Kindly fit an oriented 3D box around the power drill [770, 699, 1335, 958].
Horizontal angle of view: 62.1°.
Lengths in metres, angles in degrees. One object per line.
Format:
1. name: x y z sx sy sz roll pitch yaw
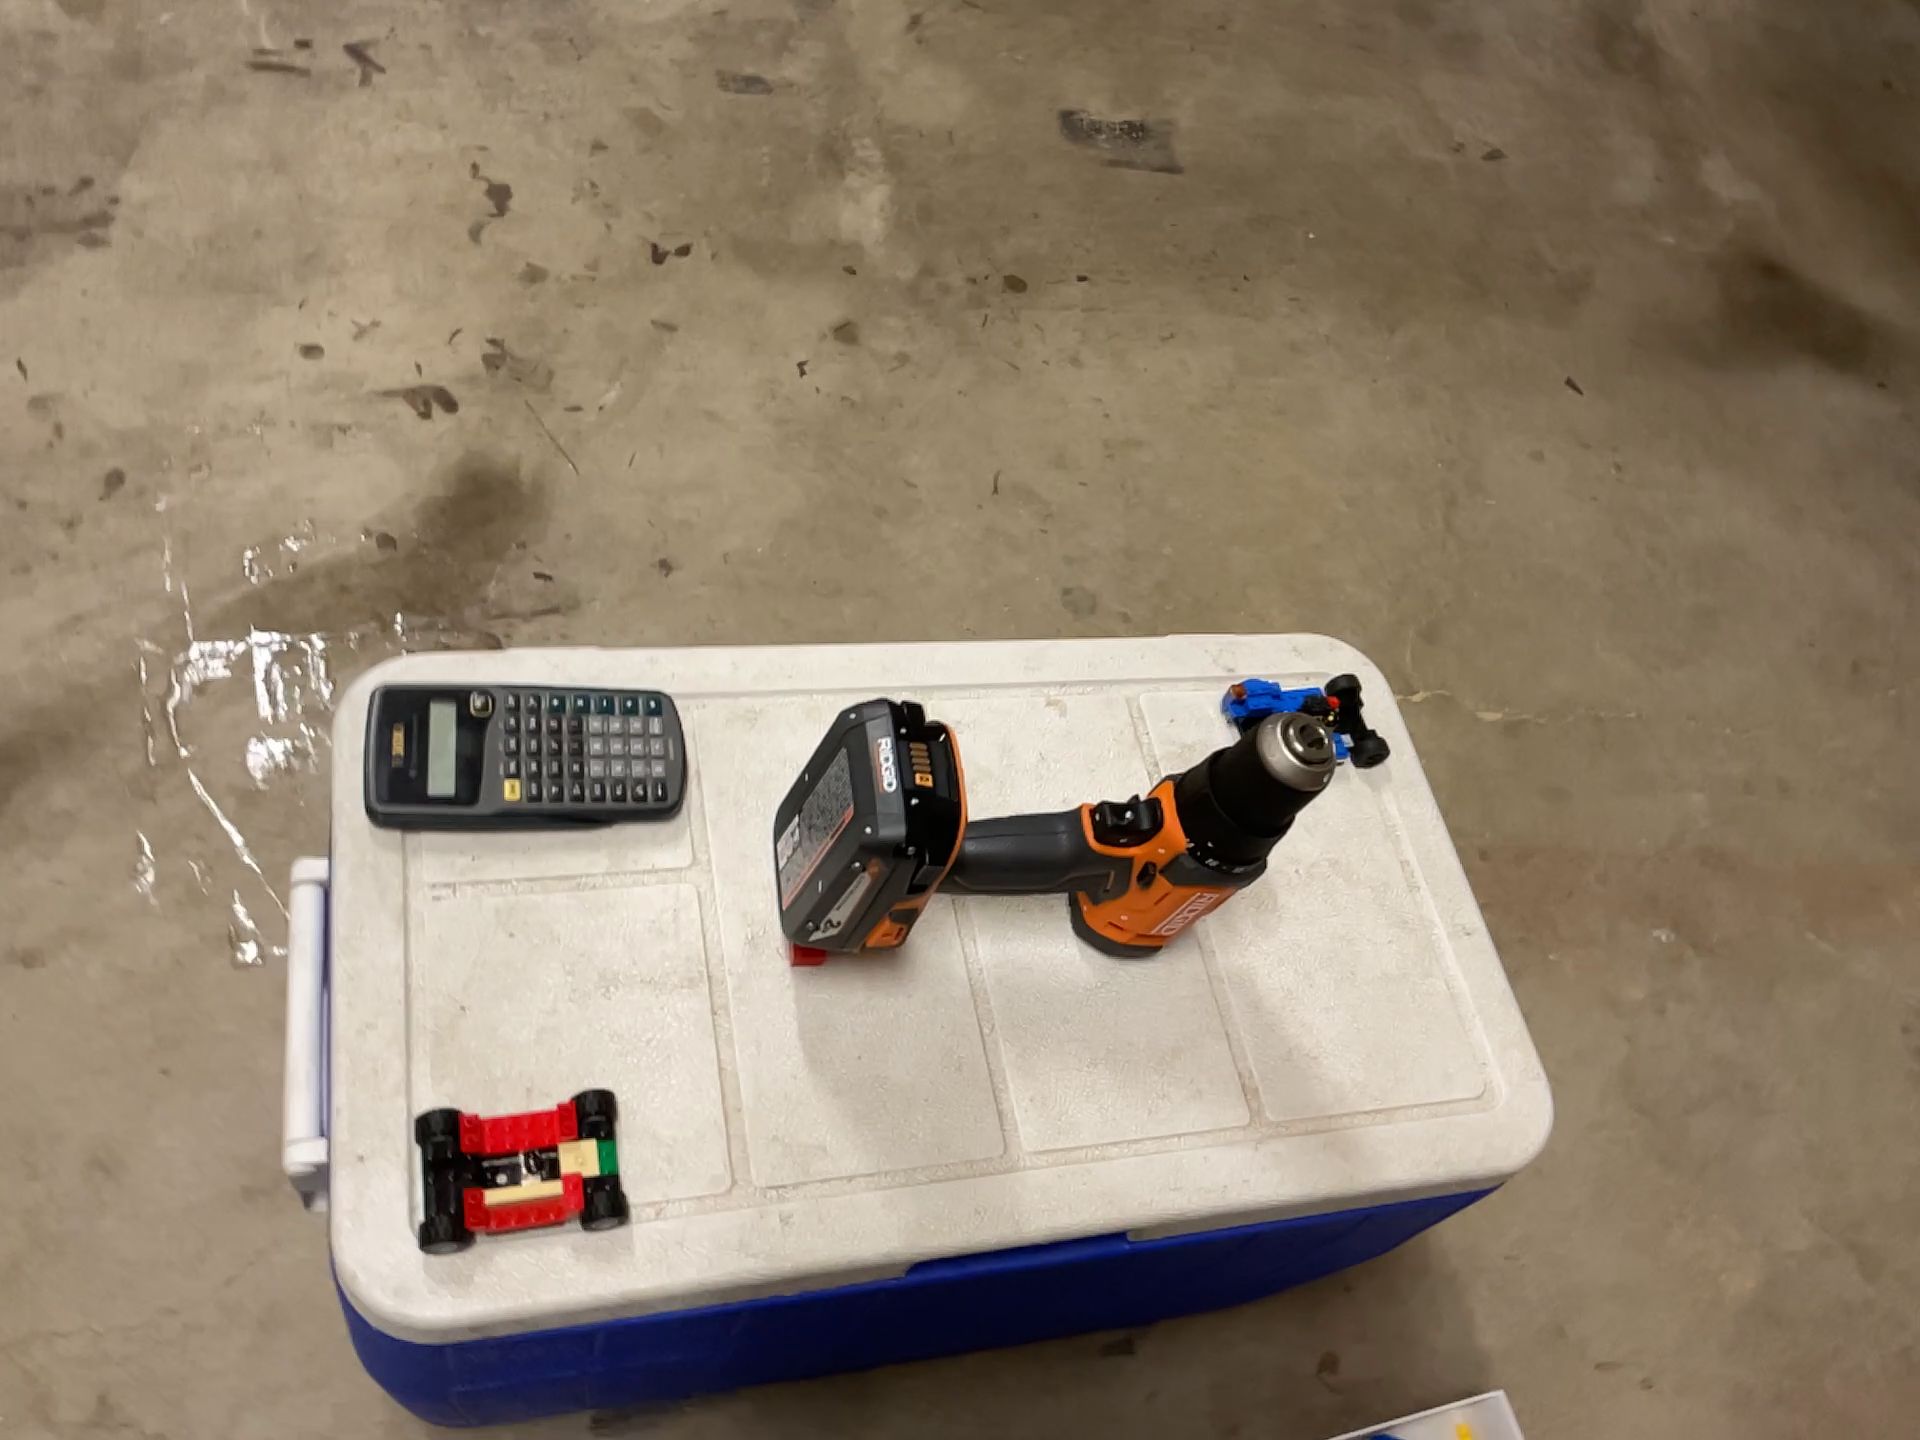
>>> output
1. power drill: 0.045 0.047 0.737 0.226 0.185 0.084 6 57 -24
